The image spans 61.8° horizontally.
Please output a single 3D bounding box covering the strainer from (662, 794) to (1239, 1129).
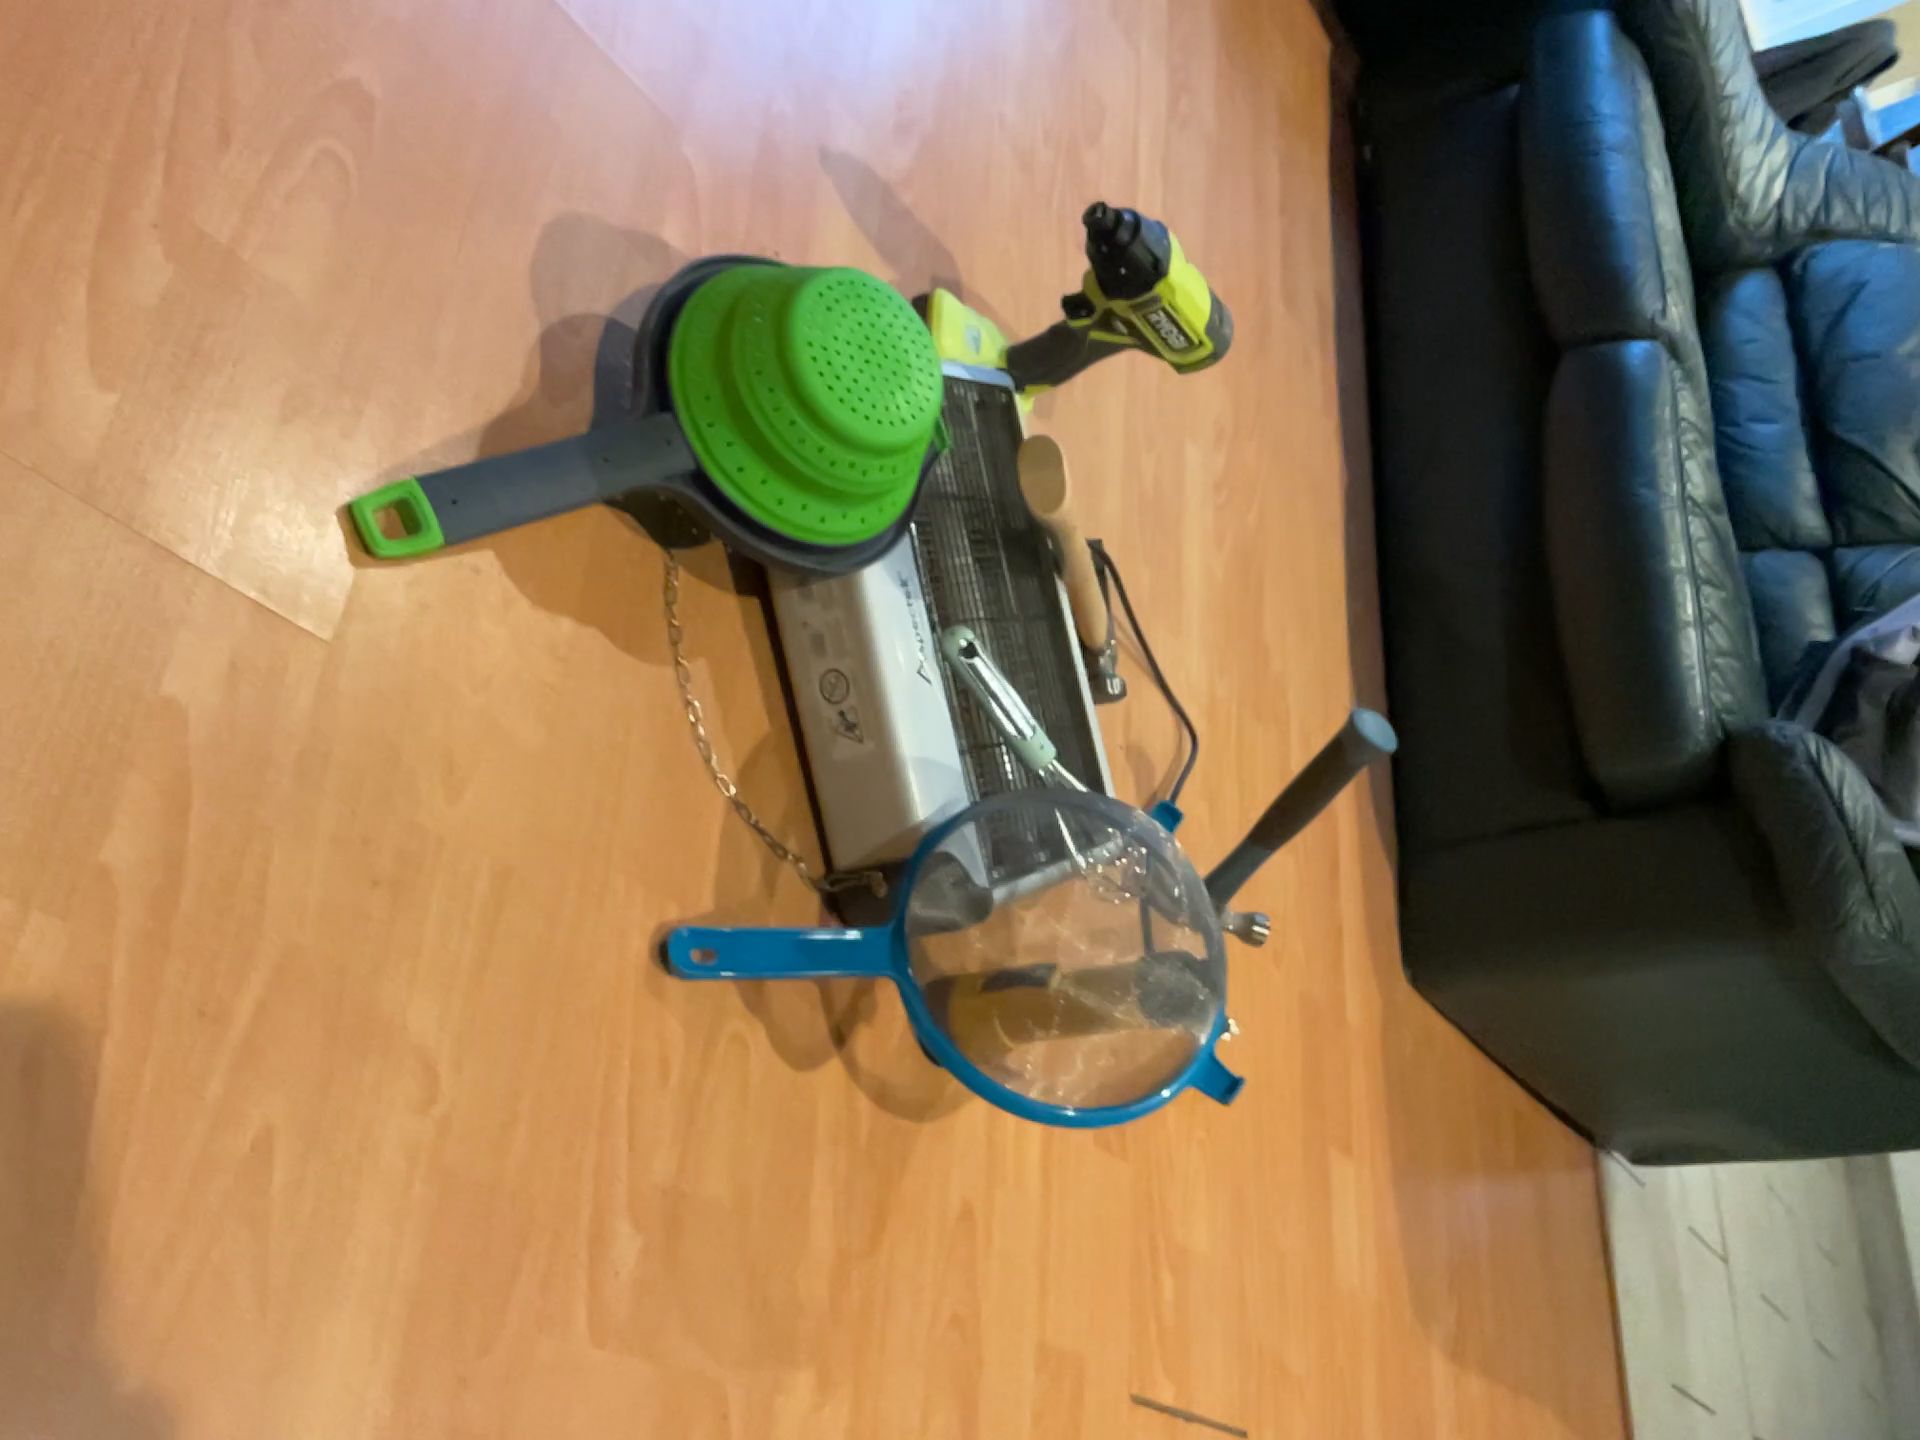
[{"bbox_3d":[0.010,0.117,0.901,0.340,0.095,0.211,3,59,-21],"label":"strainer"}]

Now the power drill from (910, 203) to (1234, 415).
[{"bbox_3d":[0.073,-0.303,1.223,0.171,0.223,0.080,34,50,-47],"label":"power drill"}]

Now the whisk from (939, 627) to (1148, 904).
[{"bbox_3d":[0.058,0.034,1.073,0.058,0.059,0.246,-47,118,-21],"label":"whisk"}]

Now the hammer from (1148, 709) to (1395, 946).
[{"bbox_3d":[0.252,0.090,1.288,0.128,0.330,0.033,17,55,-9],"label":"hammer"}]

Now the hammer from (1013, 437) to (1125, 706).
[{"bbox_3d":[0.082,-0.127,1.196,0.410,0.038,0.146,52,32,-74],"label":"hammer"}]

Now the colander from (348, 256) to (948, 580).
[{"bbox_3d":[-0.134,-0.165,0.875,0.397,0.094,0.204,-26,93,-42],"label":"colander"}]
